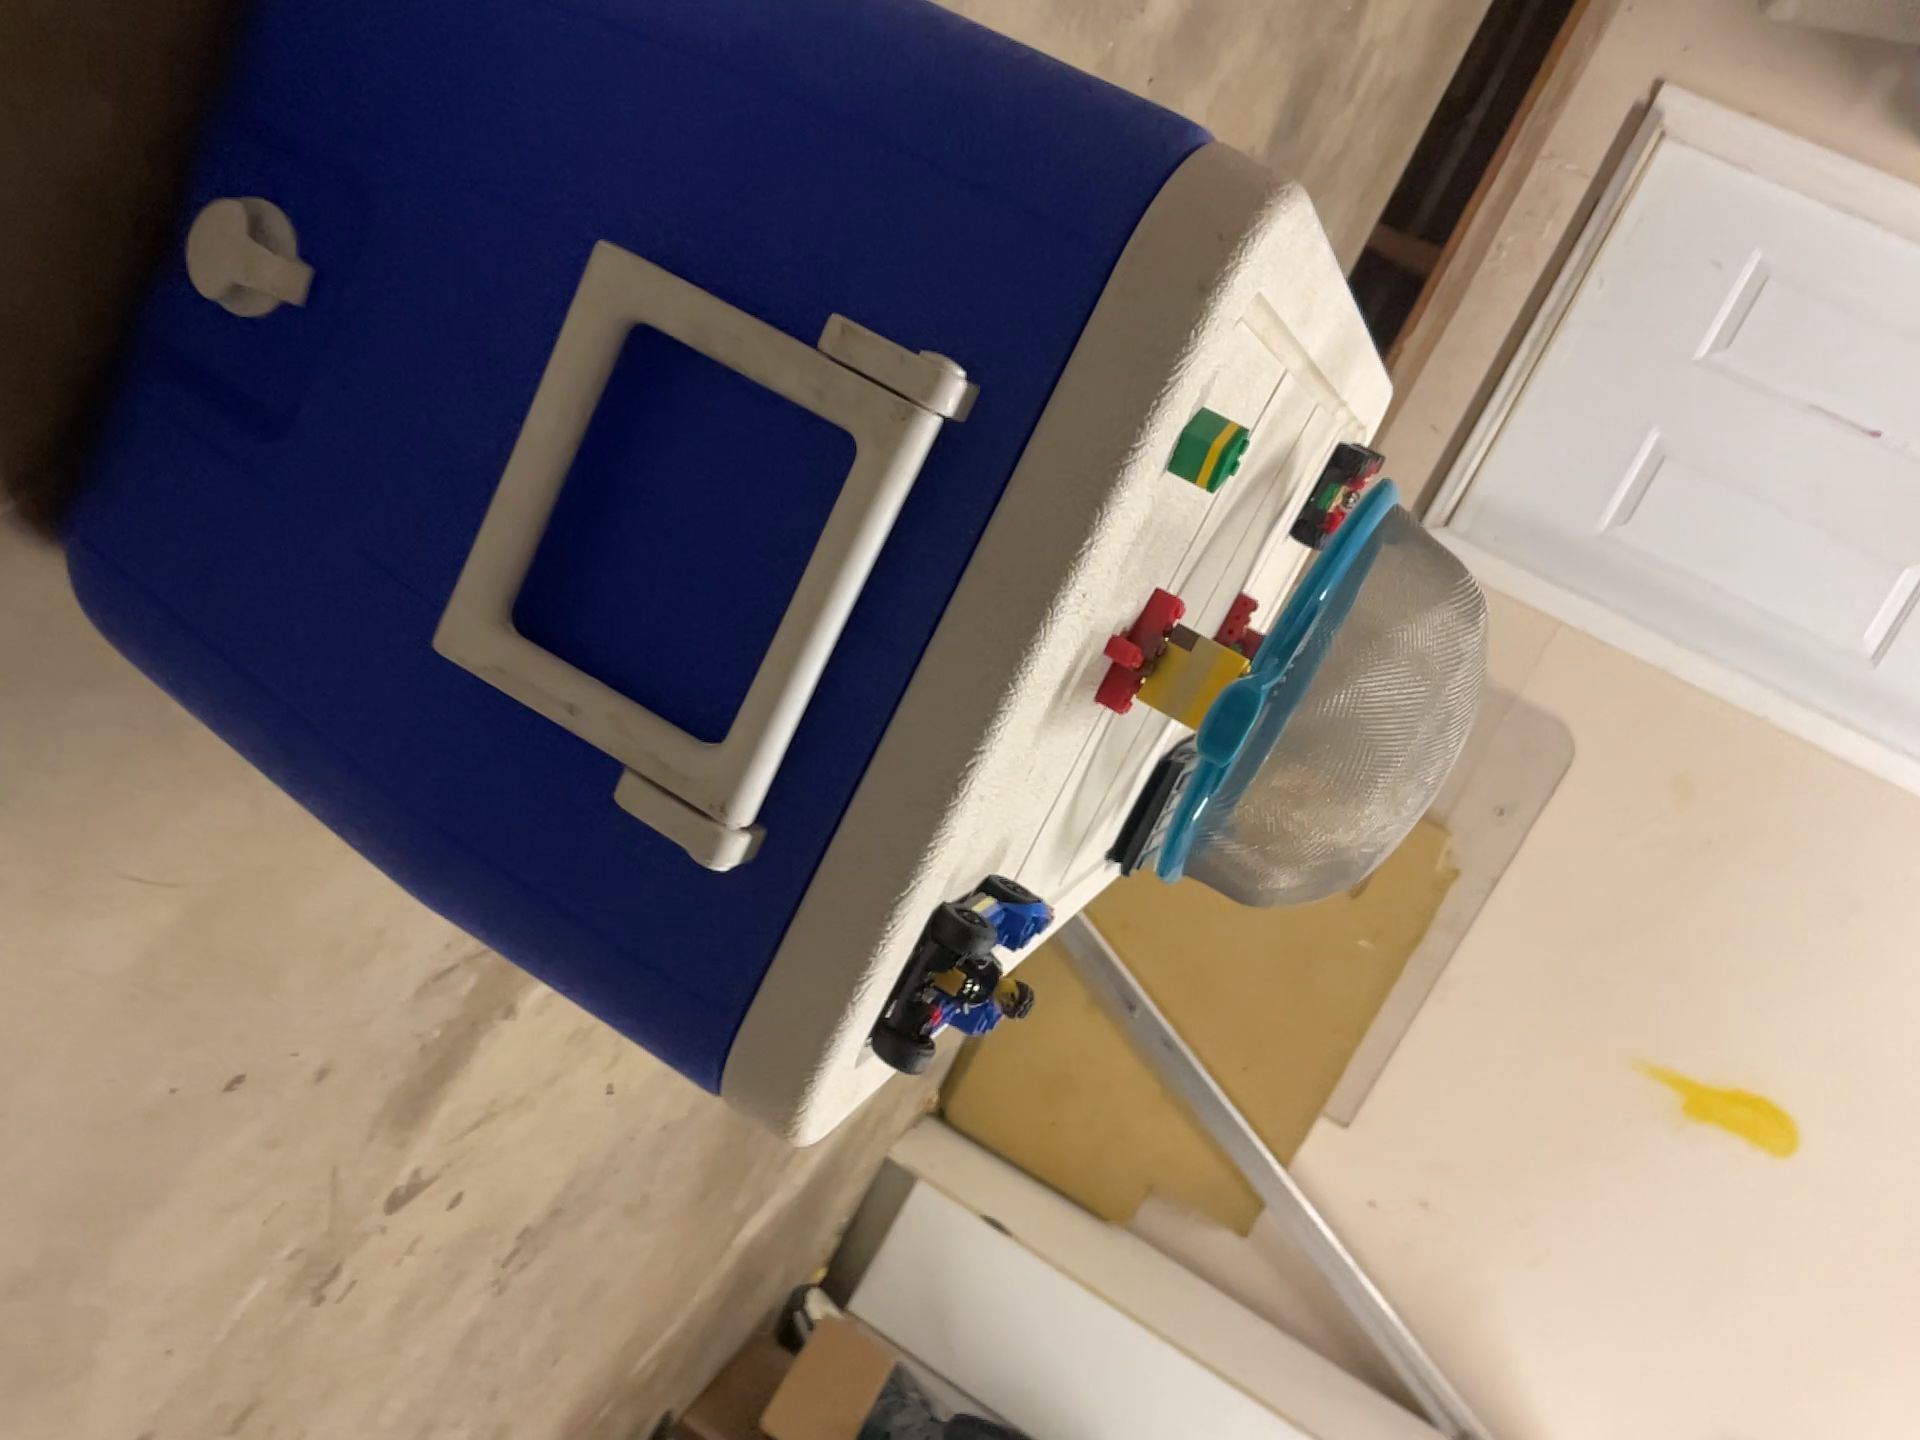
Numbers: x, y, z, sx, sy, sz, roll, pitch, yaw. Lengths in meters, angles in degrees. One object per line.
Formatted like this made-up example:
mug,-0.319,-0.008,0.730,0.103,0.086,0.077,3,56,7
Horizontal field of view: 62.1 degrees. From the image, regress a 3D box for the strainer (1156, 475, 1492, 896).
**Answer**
strainer,0.162,0.007,0.664,0.211,0.095,0.340,-63,168,11
